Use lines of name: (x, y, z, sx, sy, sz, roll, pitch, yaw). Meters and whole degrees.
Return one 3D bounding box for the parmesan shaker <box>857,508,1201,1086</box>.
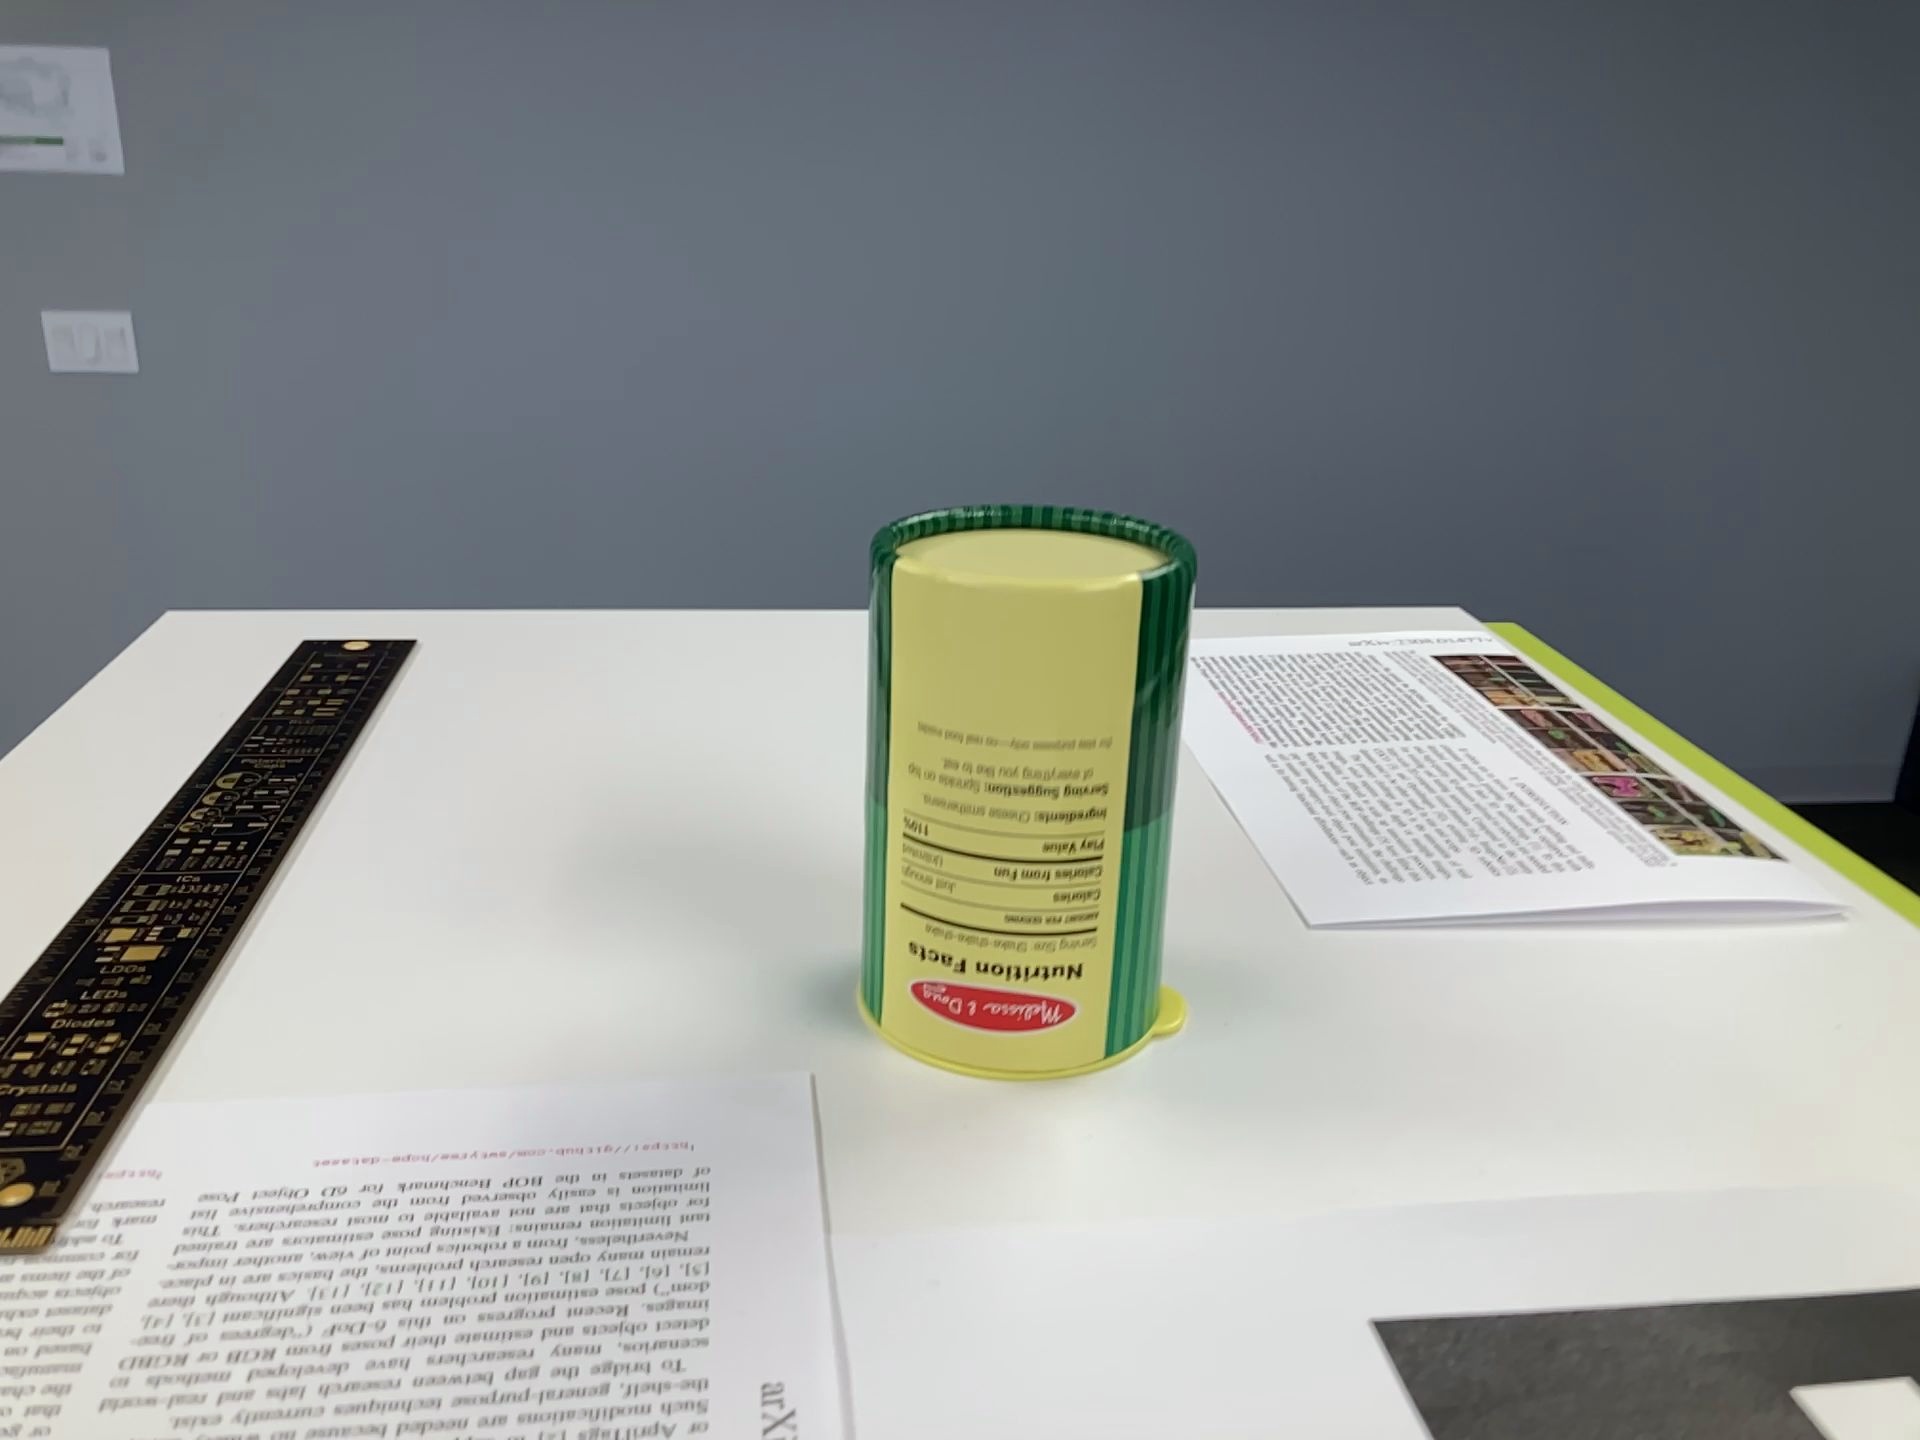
parmesan shaker: (0.016, 0.013, 0.326, 0.071, 0.103, 0.071, 2, 20, -1)
